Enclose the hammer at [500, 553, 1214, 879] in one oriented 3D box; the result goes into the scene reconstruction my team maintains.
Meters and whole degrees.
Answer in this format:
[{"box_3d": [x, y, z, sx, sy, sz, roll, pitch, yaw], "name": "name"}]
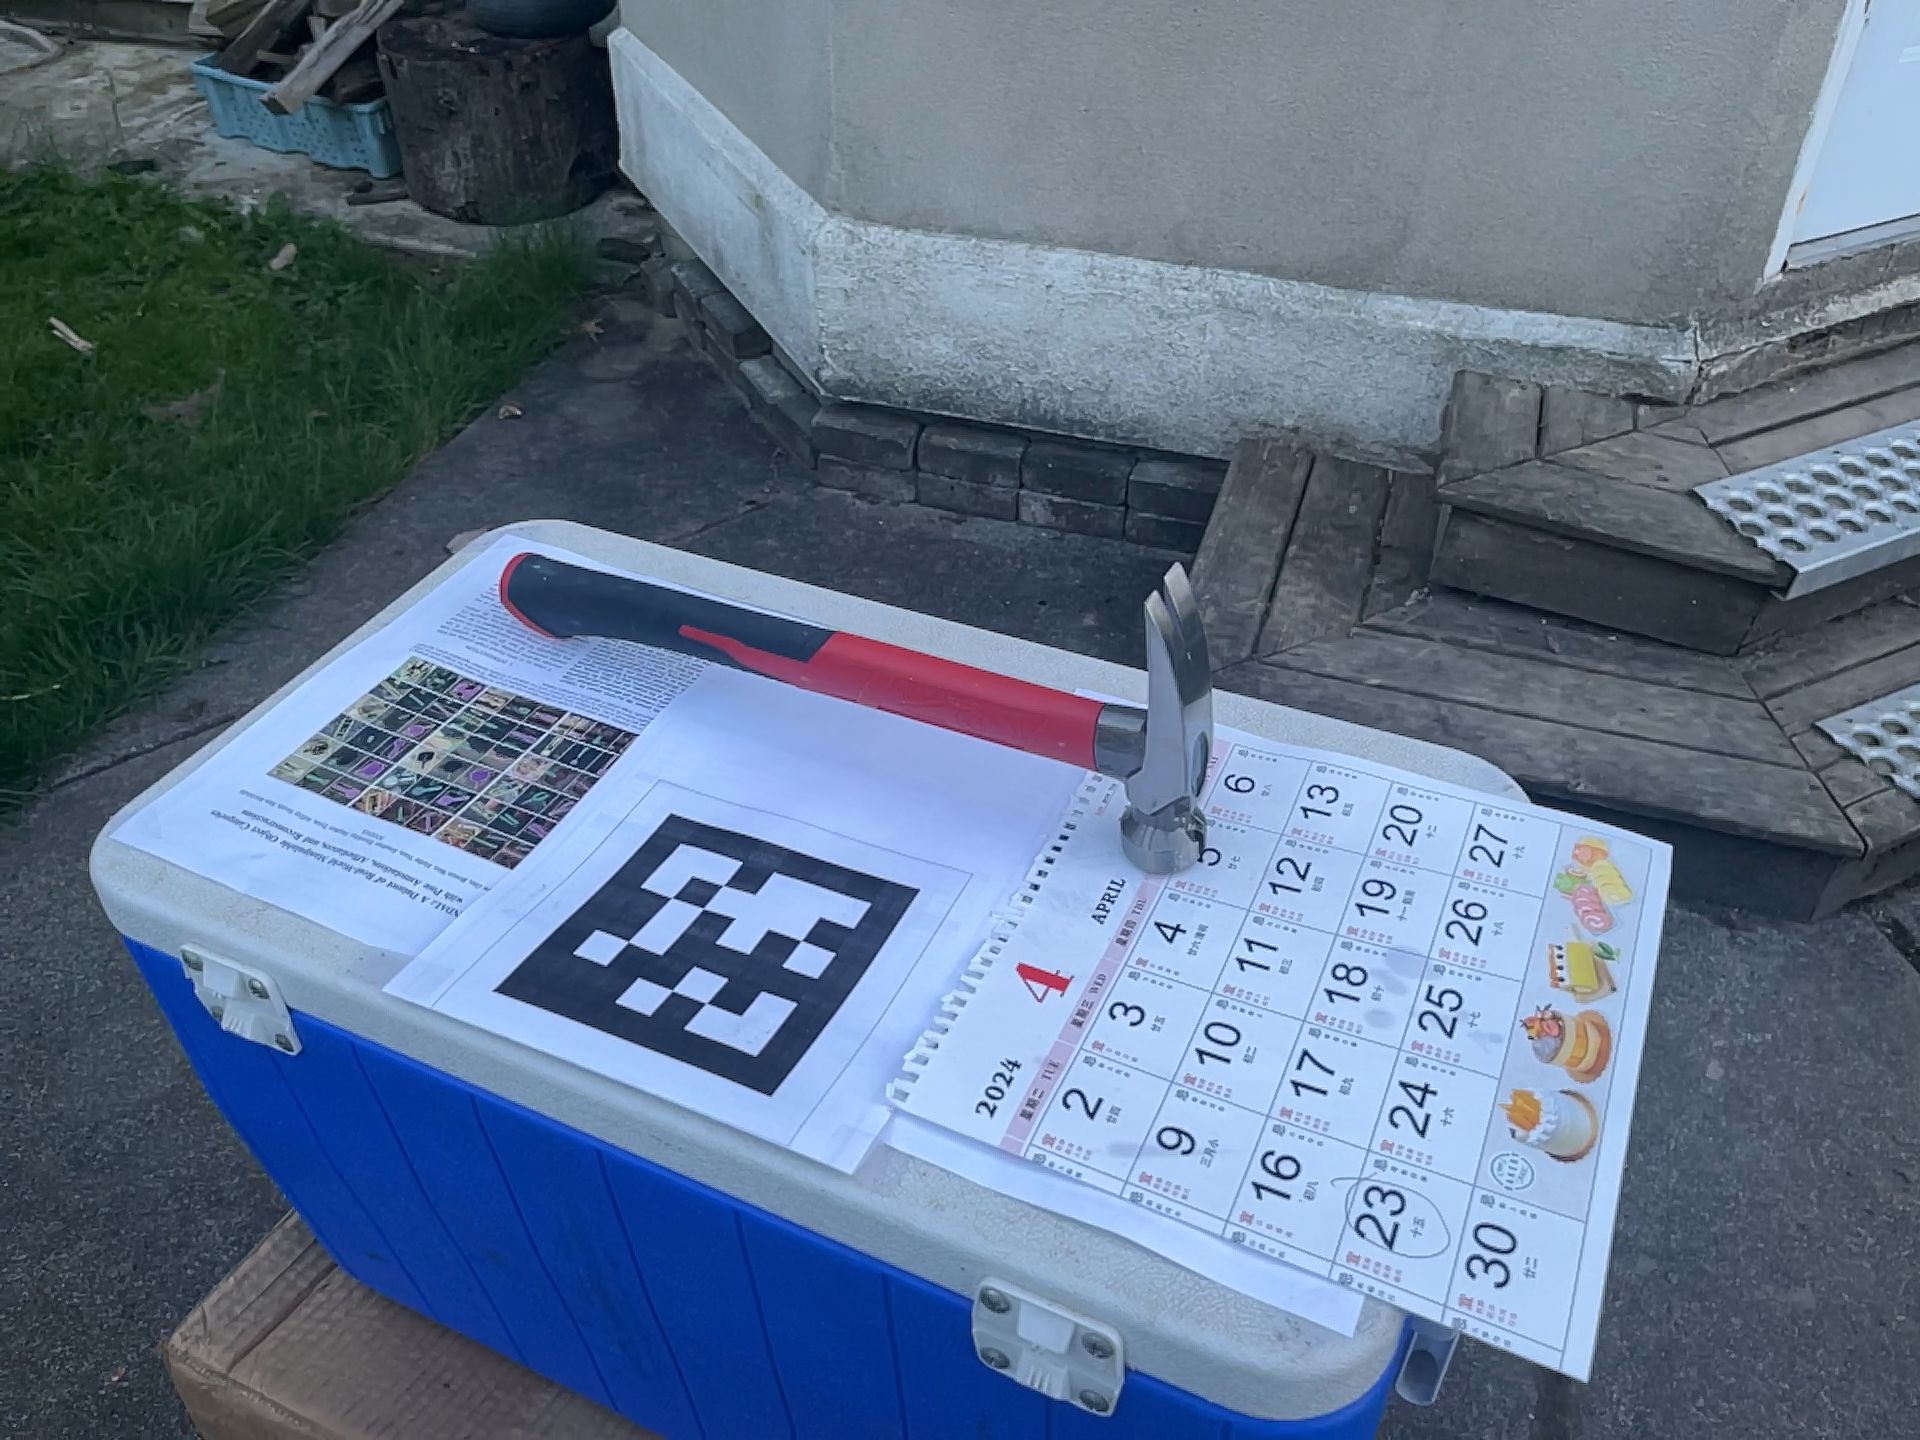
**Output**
[{"box_3d": [-0.067, -0.040, 0.718, 0.386, 0.143, 0.038, 16, 43, 27], "name": "hammer"}]
